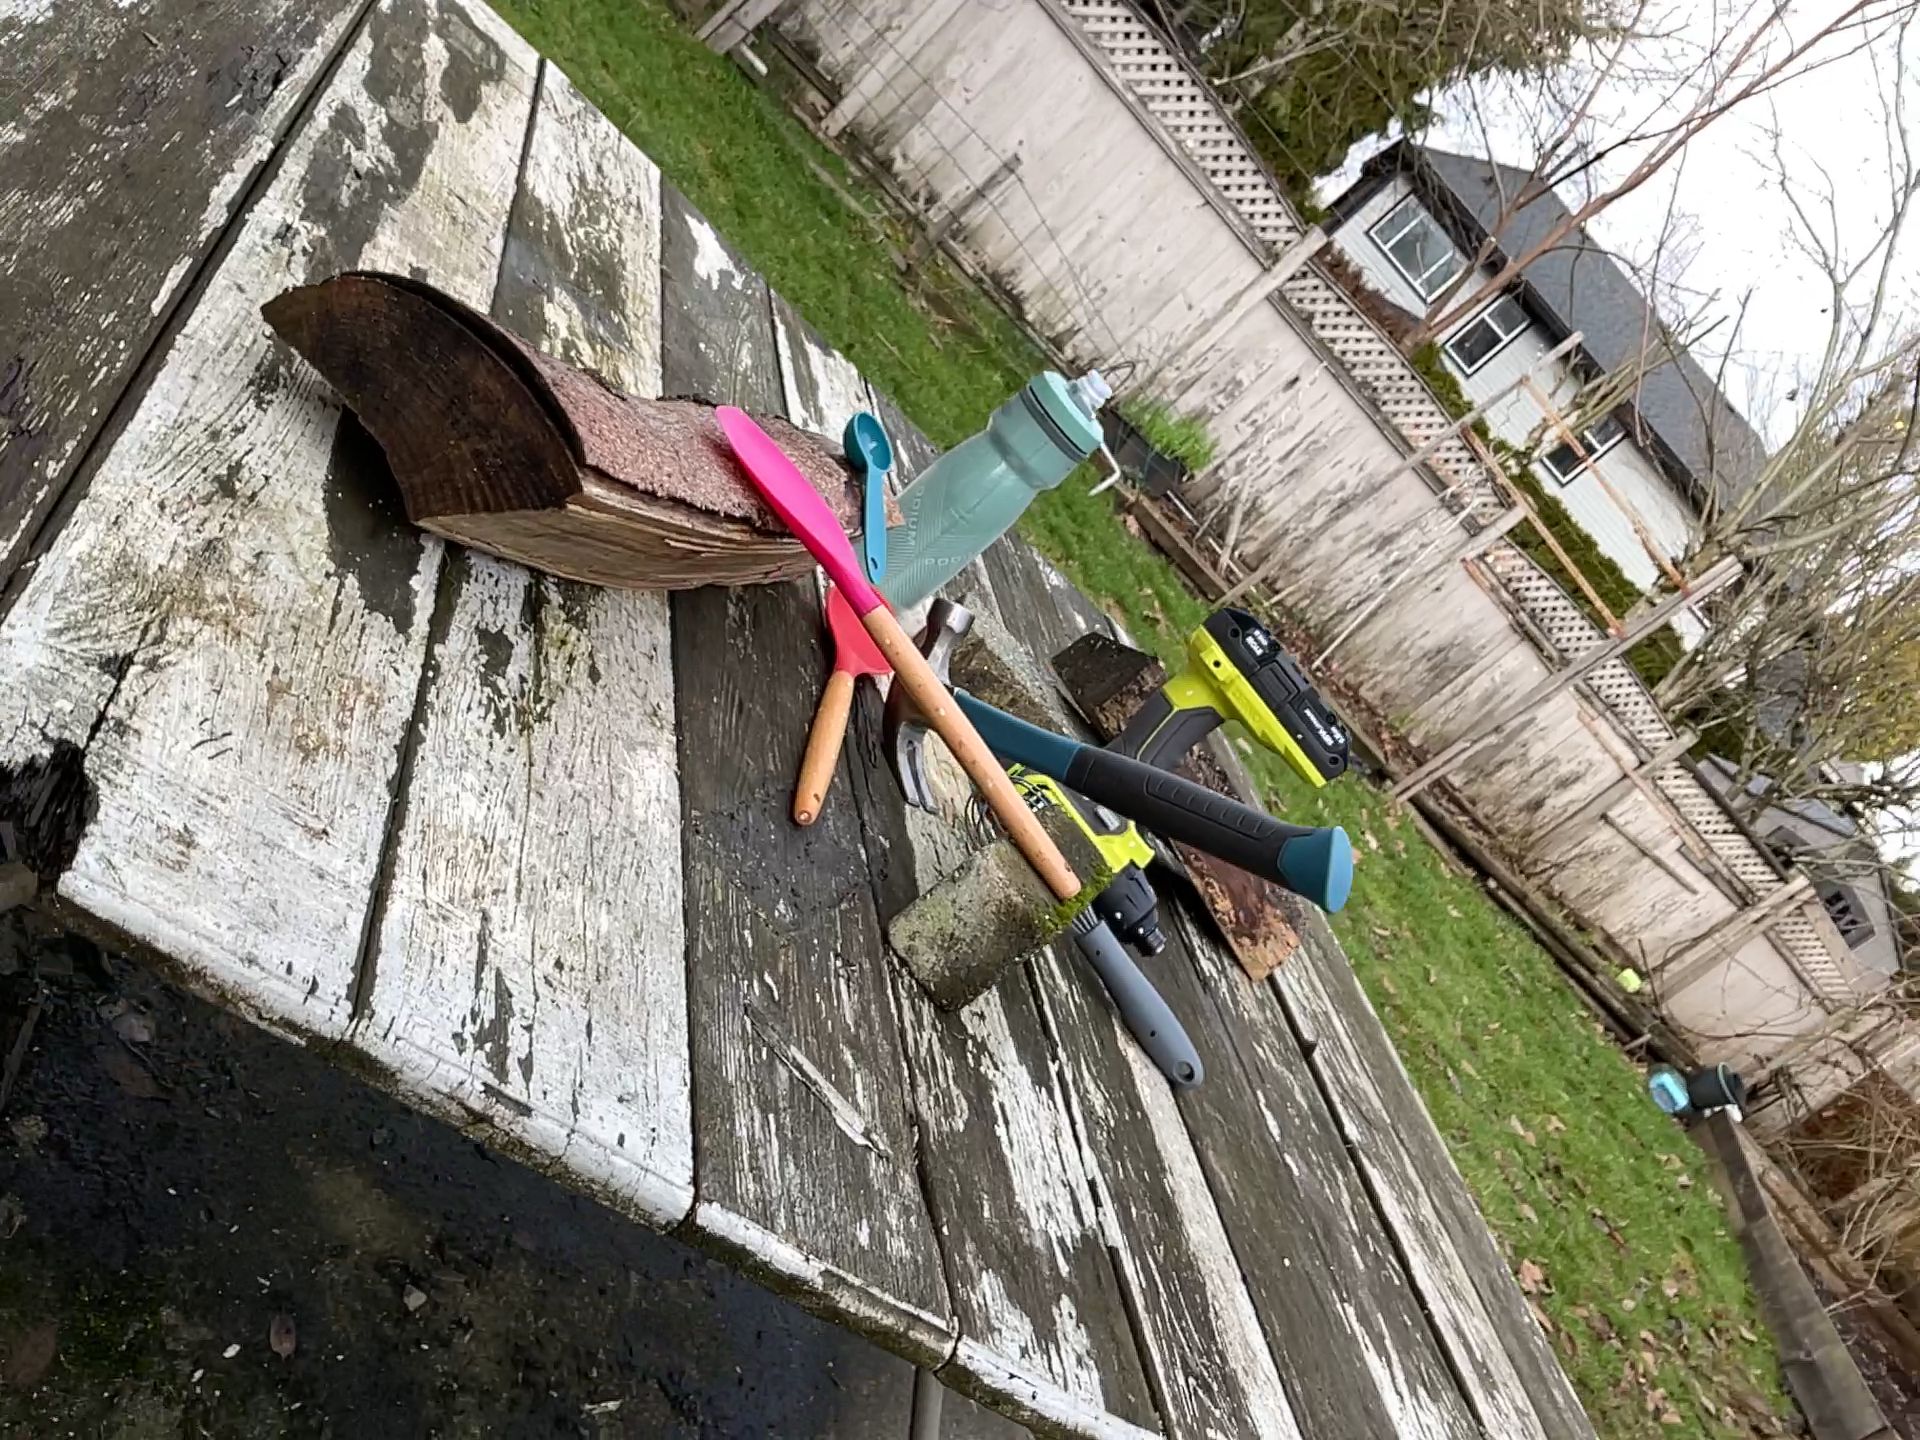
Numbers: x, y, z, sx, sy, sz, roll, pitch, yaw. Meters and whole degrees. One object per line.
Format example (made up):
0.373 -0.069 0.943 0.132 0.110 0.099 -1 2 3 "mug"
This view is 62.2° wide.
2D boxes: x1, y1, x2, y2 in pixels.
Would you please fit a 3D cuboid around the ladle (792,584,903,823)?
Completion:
-0.073 -0.015 0.982 0.069 0.031 0.316 48 19 -17 "ladle"

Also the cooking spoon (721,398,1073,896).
-0.034 -0.040 0.852 0.319 0.017 0.068 55 16 1 "cooking spoon"

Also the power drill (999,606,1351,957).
0.148 0.042 1.095 0.171 0.223 0.080 52 9 0 "power drill"

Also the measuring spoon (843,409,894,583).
-0.060 -0.140 1.012 0.042 0.021 0.129 32 47 -49 "measuring spoon"

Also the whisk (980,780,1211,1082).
0.089 0.136 1.029 0.239 0.055 0.055 53 24 -2 "whisk"

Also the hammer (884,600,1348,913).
0.081 0.031 0.938 0.331 0.128 0.033 23 -1 38 "hammer"
